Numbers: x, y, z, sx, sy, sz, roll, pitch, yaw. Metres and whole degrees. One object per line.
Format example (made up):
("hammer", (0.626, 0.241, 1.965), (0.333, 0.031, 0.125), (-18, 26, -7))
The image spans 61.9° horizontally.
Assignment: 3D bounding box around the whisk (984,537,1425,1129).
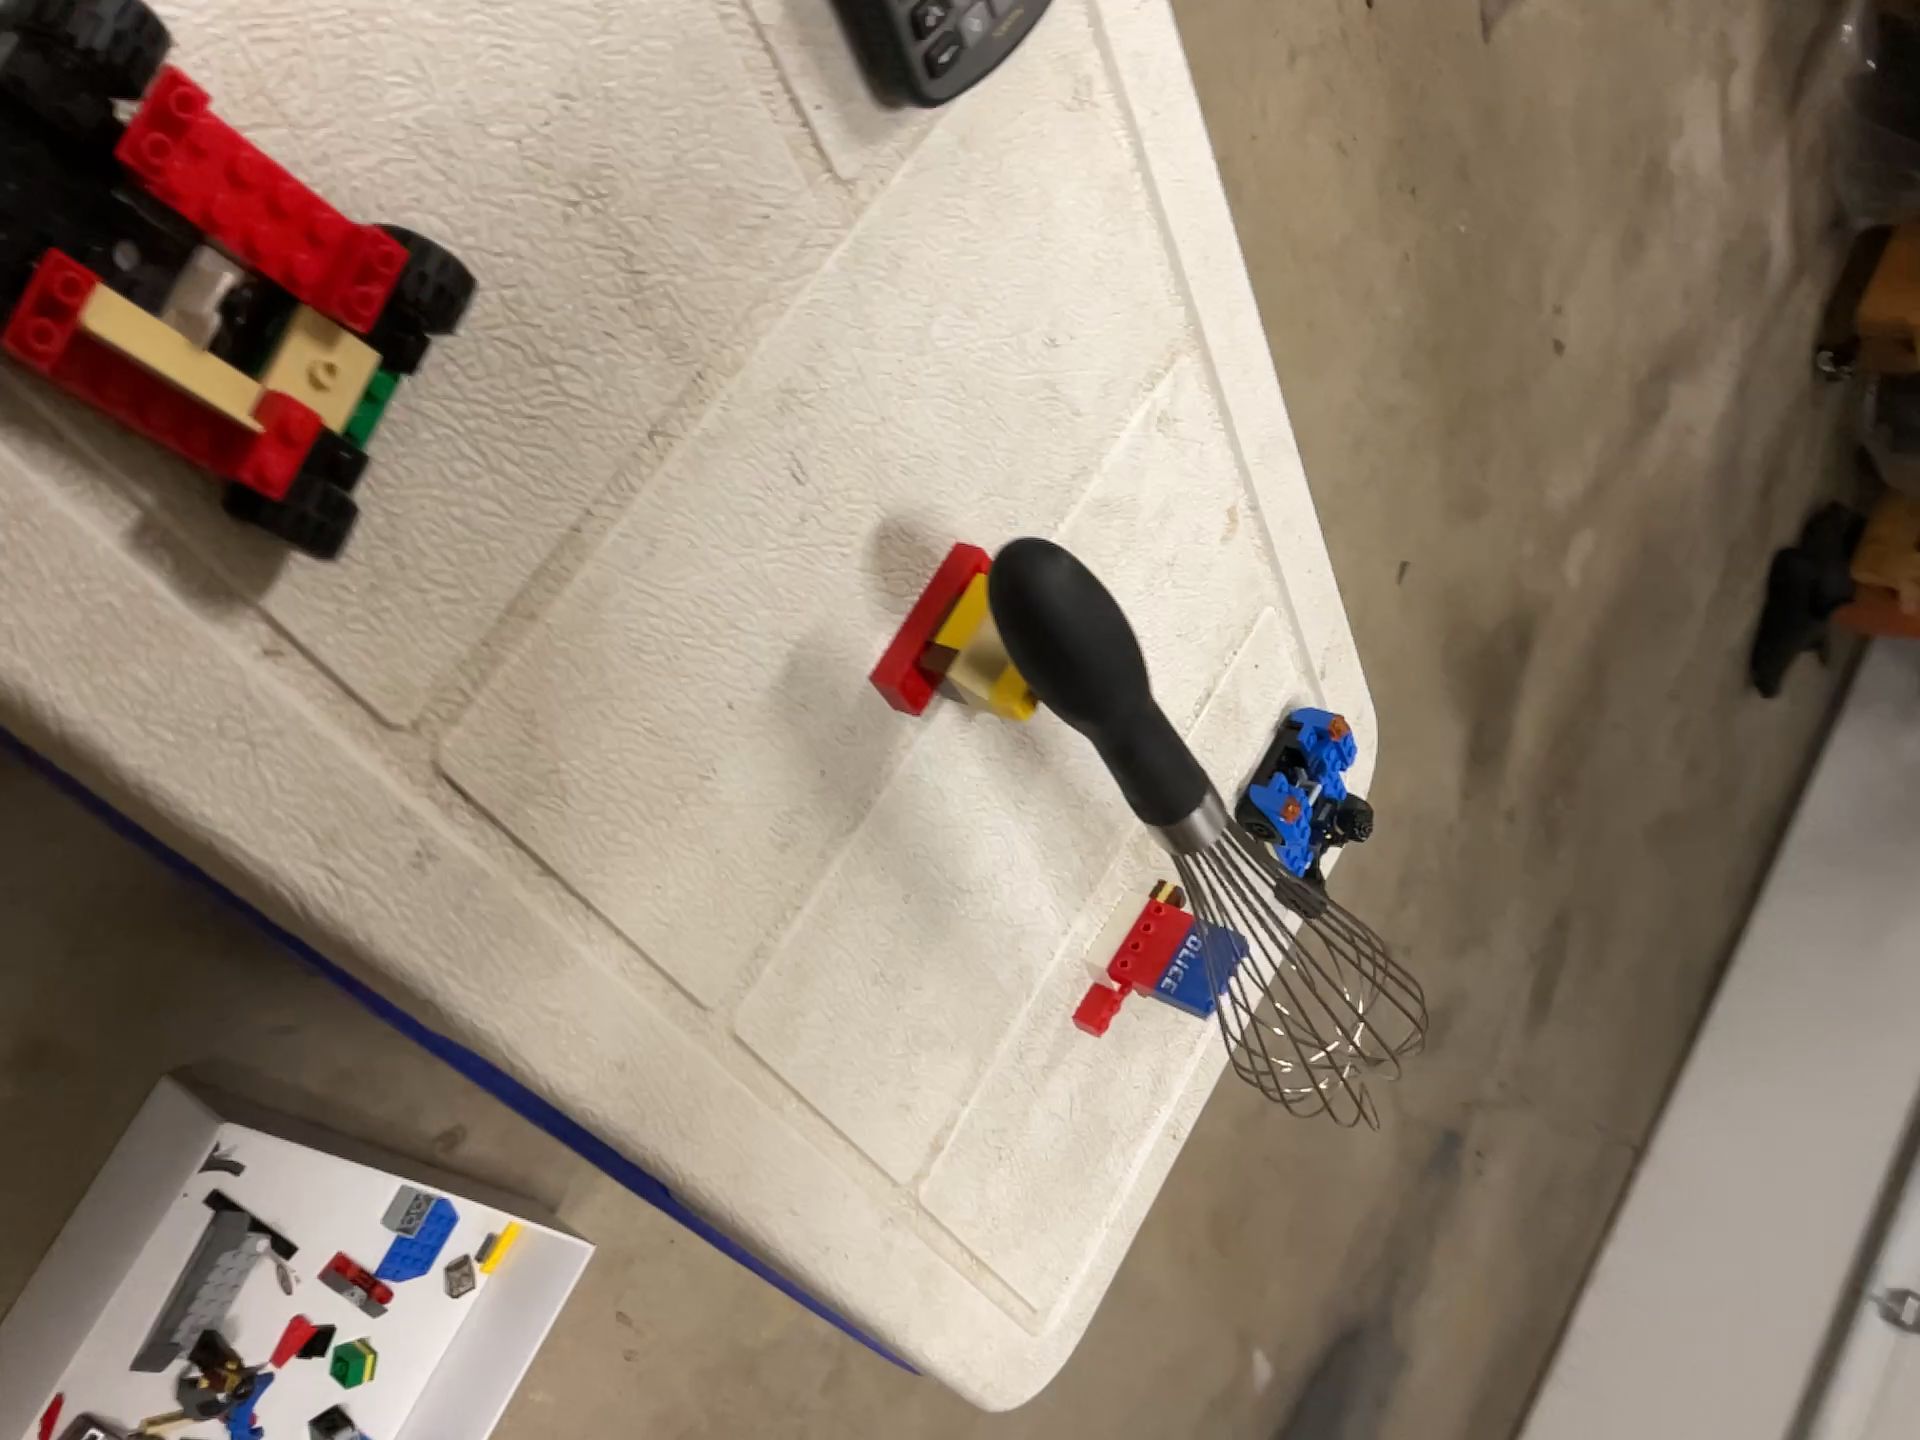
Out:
("whisk", (0.076, 0.044, 0.469), (0.070, 0.070, 0.284), (-53, 135, -16))
